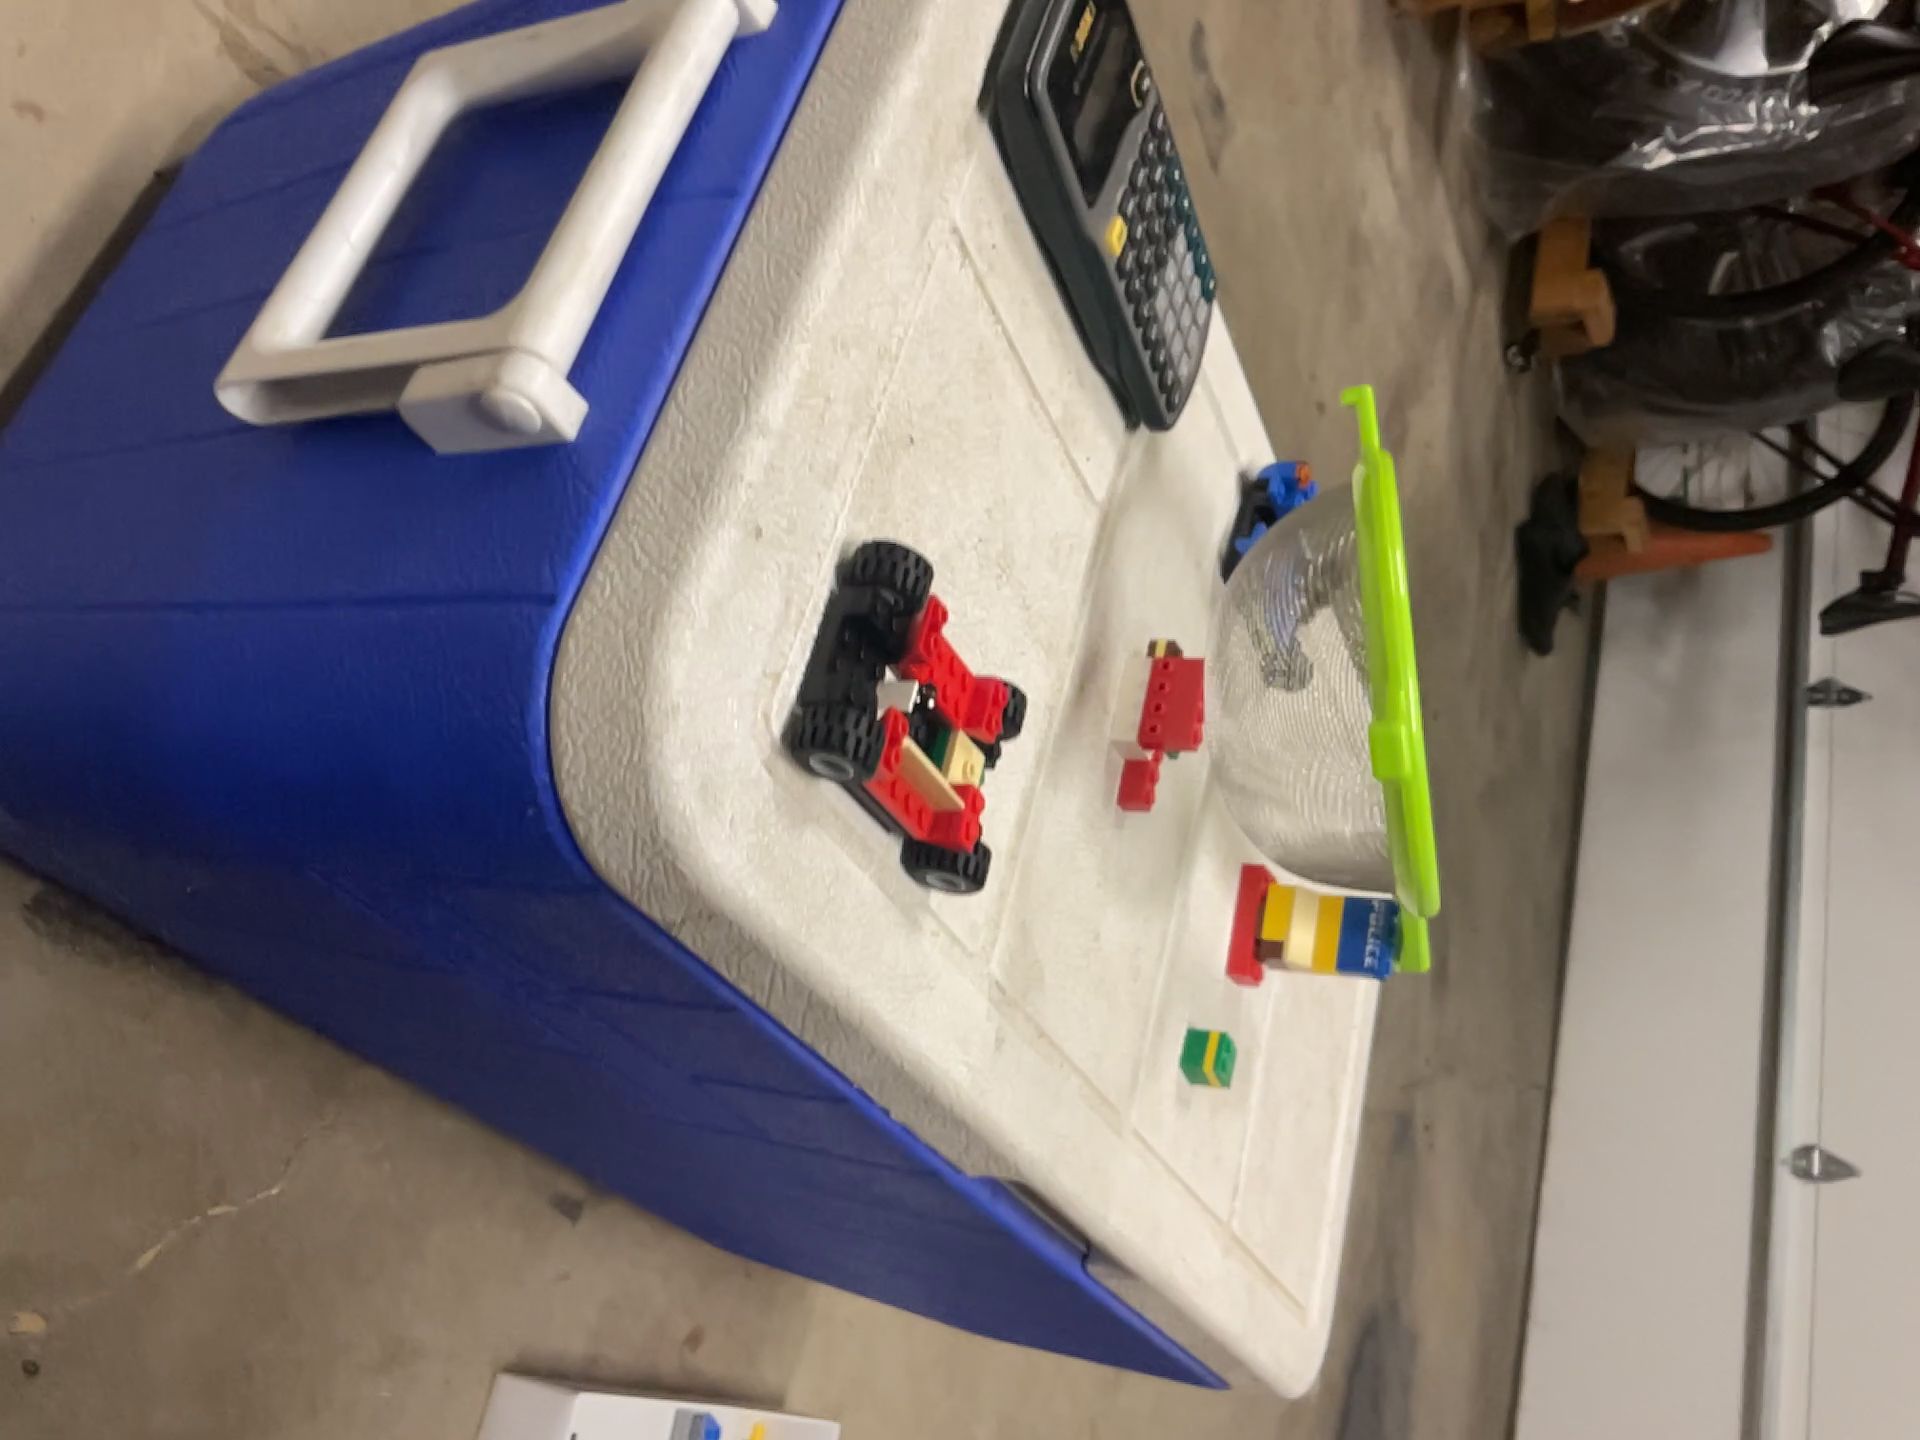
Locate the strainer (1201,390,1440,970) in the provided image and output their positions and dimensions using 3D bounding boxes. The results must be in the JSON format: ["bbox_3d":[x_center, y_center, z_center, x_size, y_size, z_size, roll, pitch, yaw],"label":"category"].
[{"bbox_3d":[0.129,0.022,0.566,0.256,0.069,0.152,67,22,-50],"label":"strainer"}]
